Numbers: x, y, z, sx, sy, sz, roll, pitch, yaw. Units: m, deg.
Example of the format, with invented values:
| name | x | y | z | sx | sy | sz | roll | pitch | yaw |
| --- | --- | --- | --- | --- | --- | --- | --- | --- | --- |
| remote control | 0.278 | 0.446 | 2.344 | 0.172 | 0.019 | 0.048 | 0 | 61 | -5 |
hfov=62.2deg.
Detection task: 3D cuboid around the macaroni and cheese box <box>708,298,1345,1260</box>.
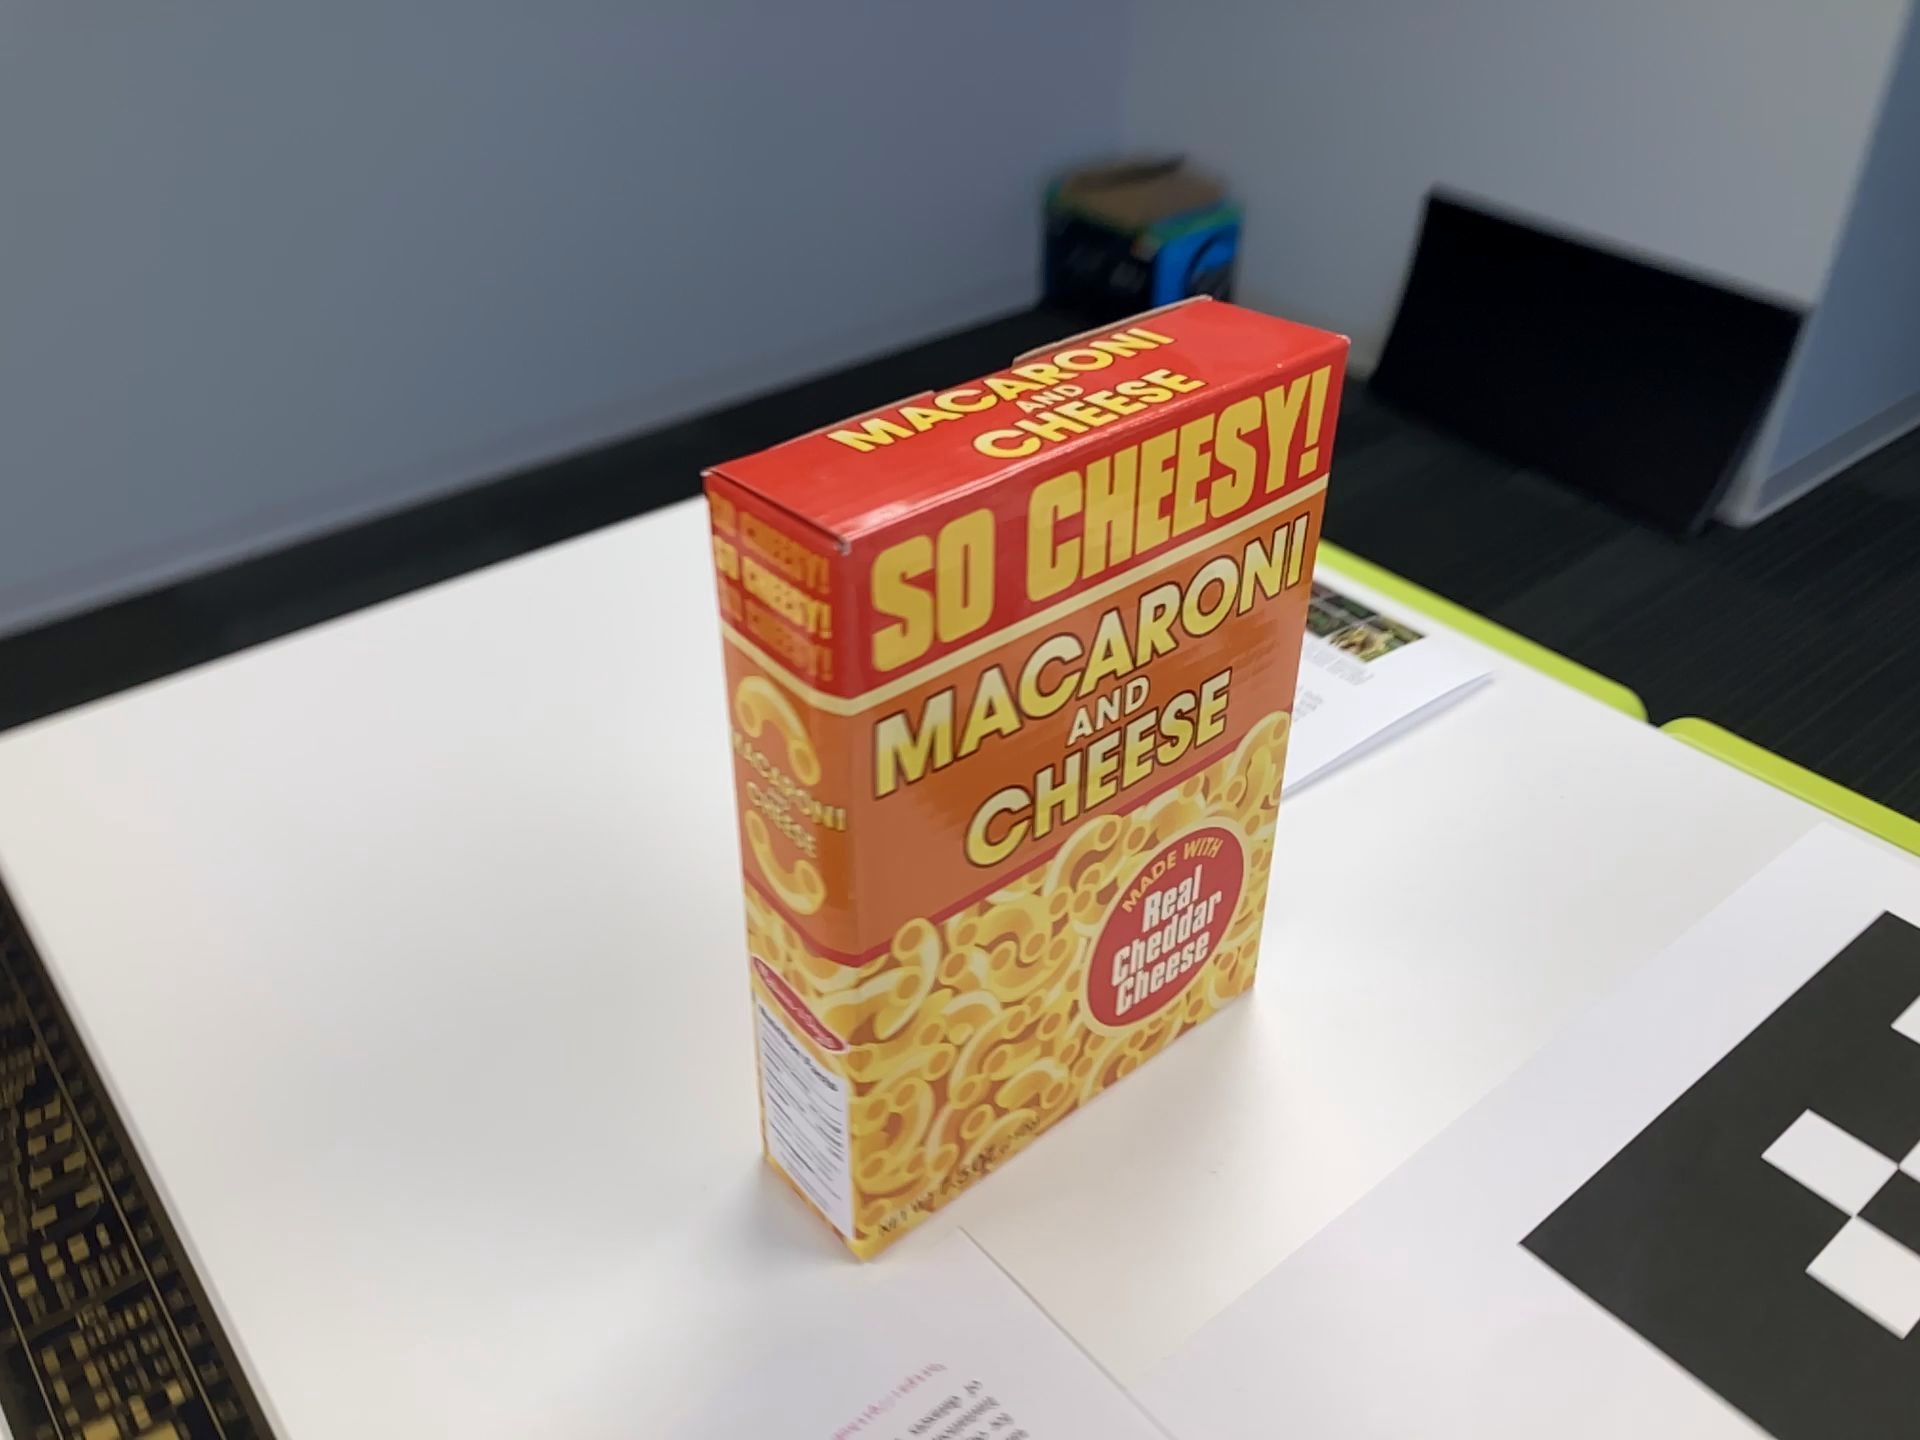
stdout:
| name | x | y | z | sx | sy | sz | roll | pitch | yaw |
| --- | --- | --- | --- | --- | --- | --- | --- | --- | --- |
| macaroni and cheese box | 0.015 | 0.012 | 0.322 | 0.124 | 0.166 | 0.040 | -27 | 43 | -34 |
